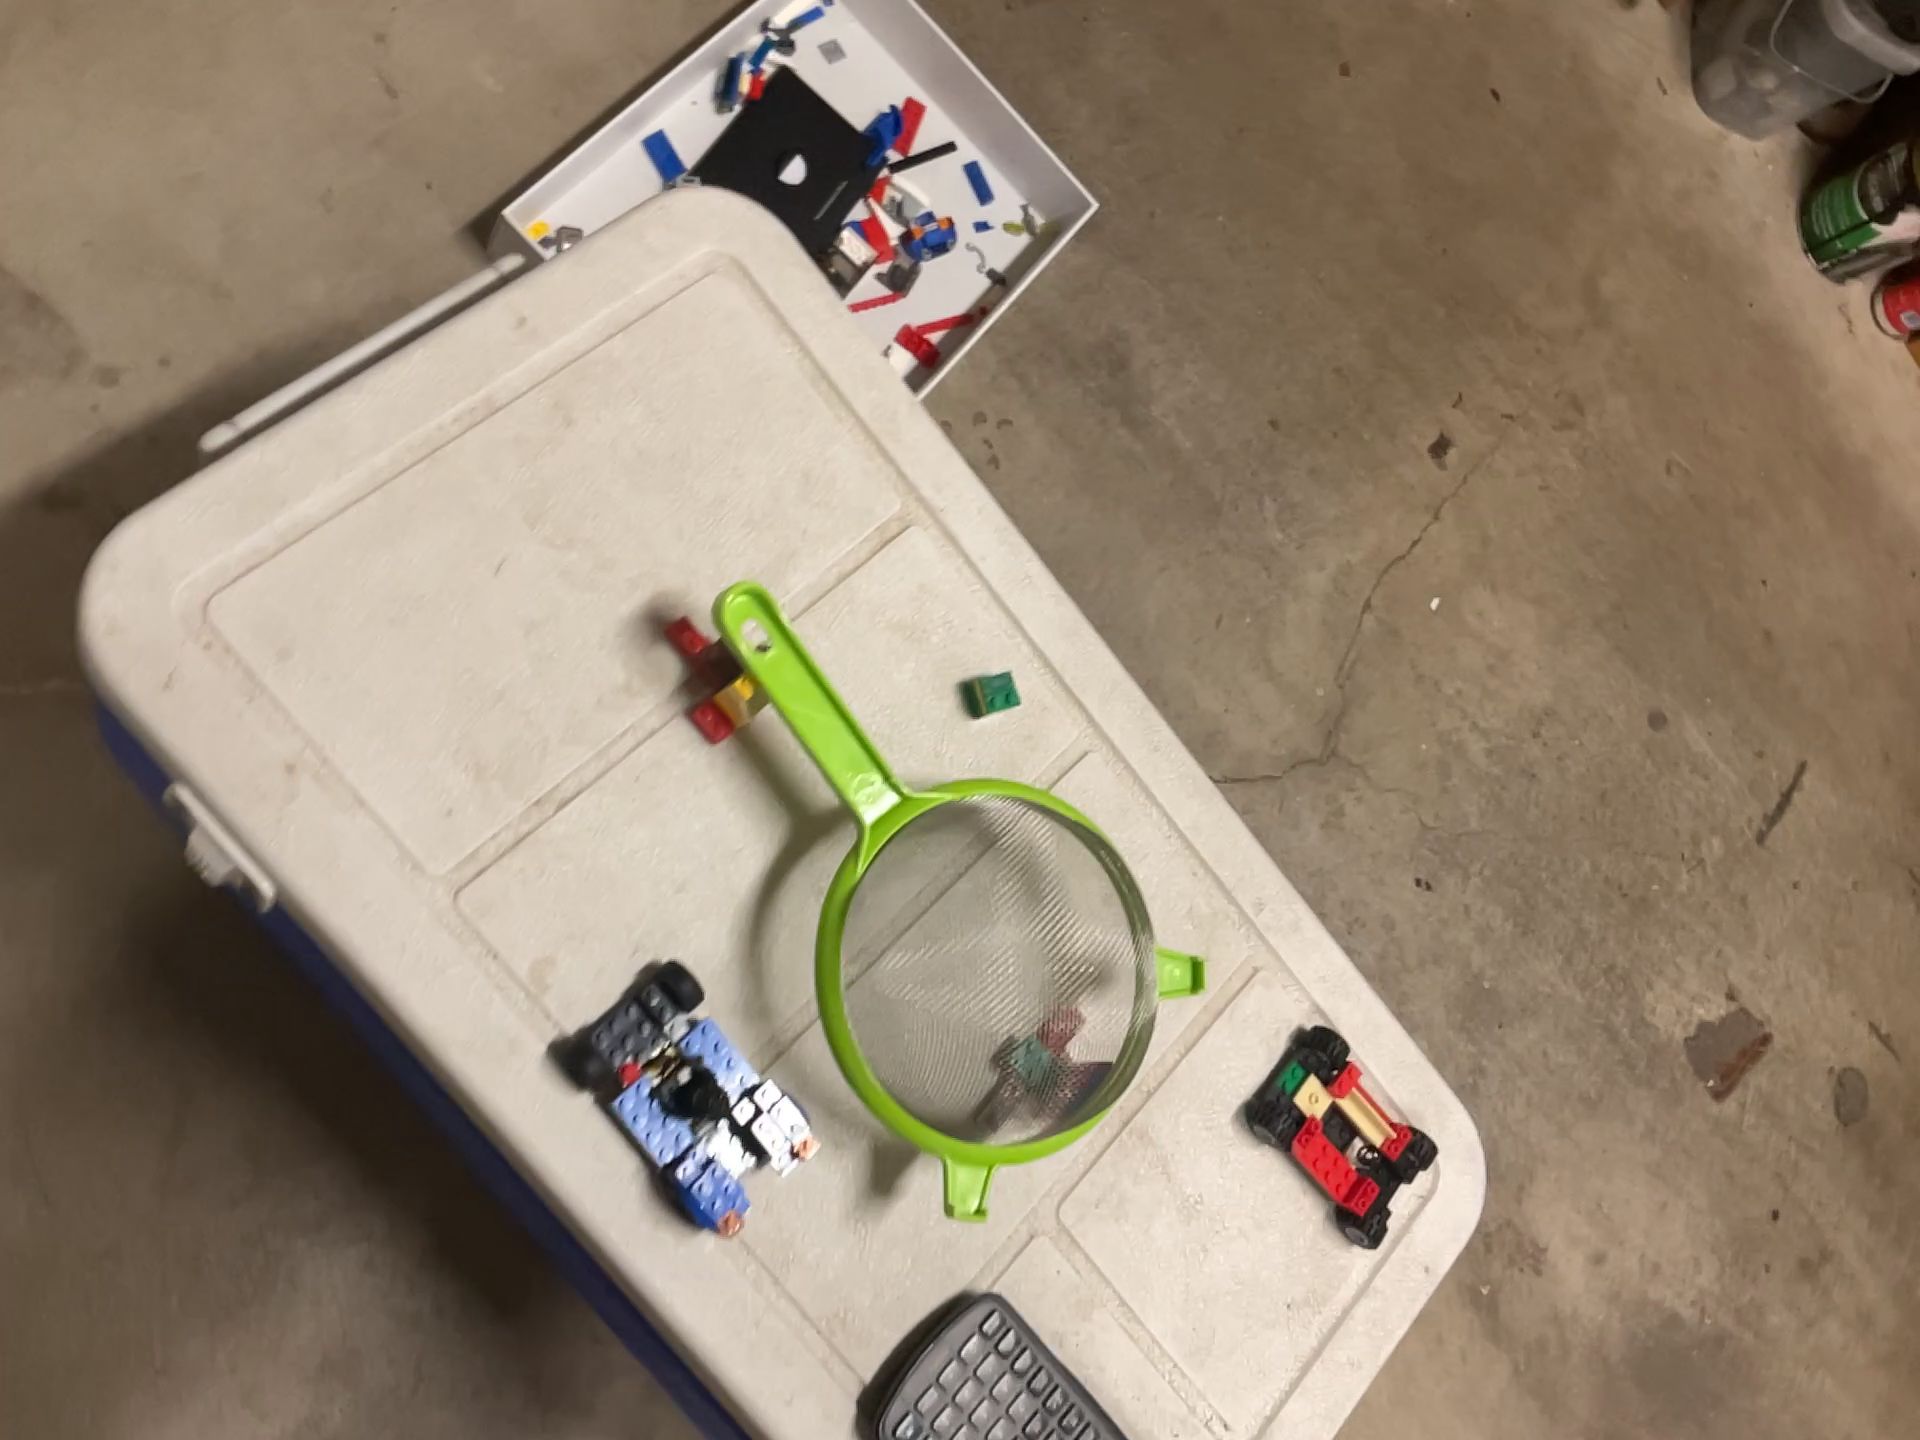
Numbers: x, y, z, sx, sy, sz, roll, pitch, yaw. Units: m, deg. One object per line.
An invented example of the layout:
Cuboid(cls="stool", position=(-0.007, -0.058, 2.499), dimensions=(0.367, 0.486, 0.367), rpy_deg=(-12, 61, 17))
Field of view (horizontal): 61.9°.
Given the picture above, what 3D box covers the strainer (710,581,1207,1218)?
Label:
Cuboid(cls="strainer", position=(-0.005, 0.050, 0.602), dimensions=(0.151, 0.069, 0.256), rpy_deg=(-39, 99, -26))
